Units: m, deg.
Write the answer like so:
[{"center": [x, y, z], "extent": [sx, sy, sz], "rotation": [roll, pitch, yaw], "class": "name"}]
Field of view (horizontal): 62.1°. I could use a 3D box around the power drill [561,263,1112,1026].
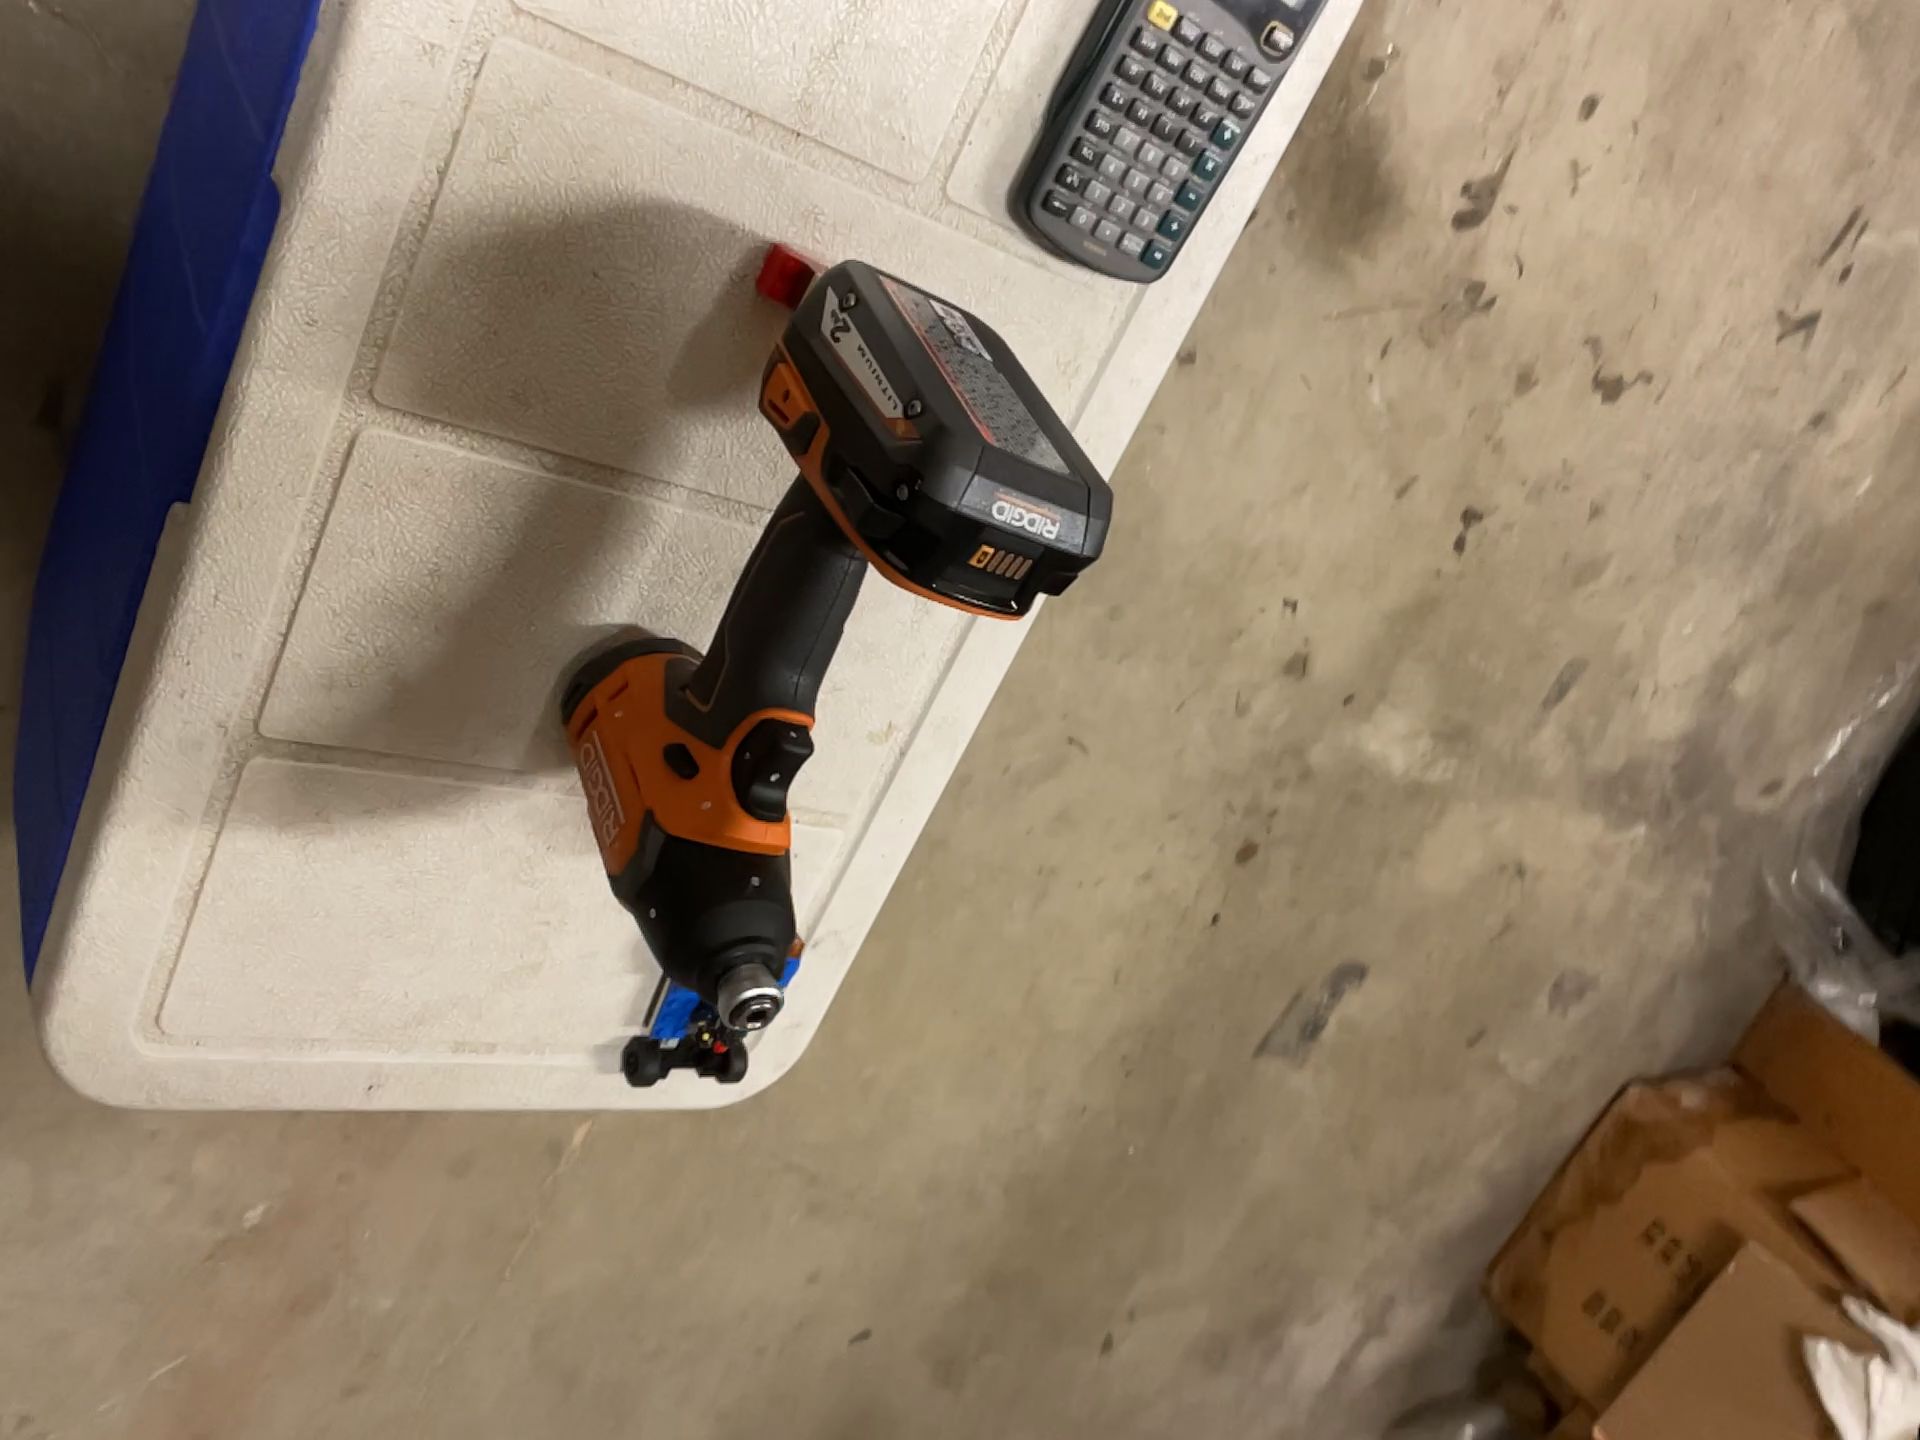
[{"center": [-0.051, -0.017, 0.537], "extent": [0.084, 0.164, 0.226], "rotation": [14, 125, -39], "class": "power drill"}]
